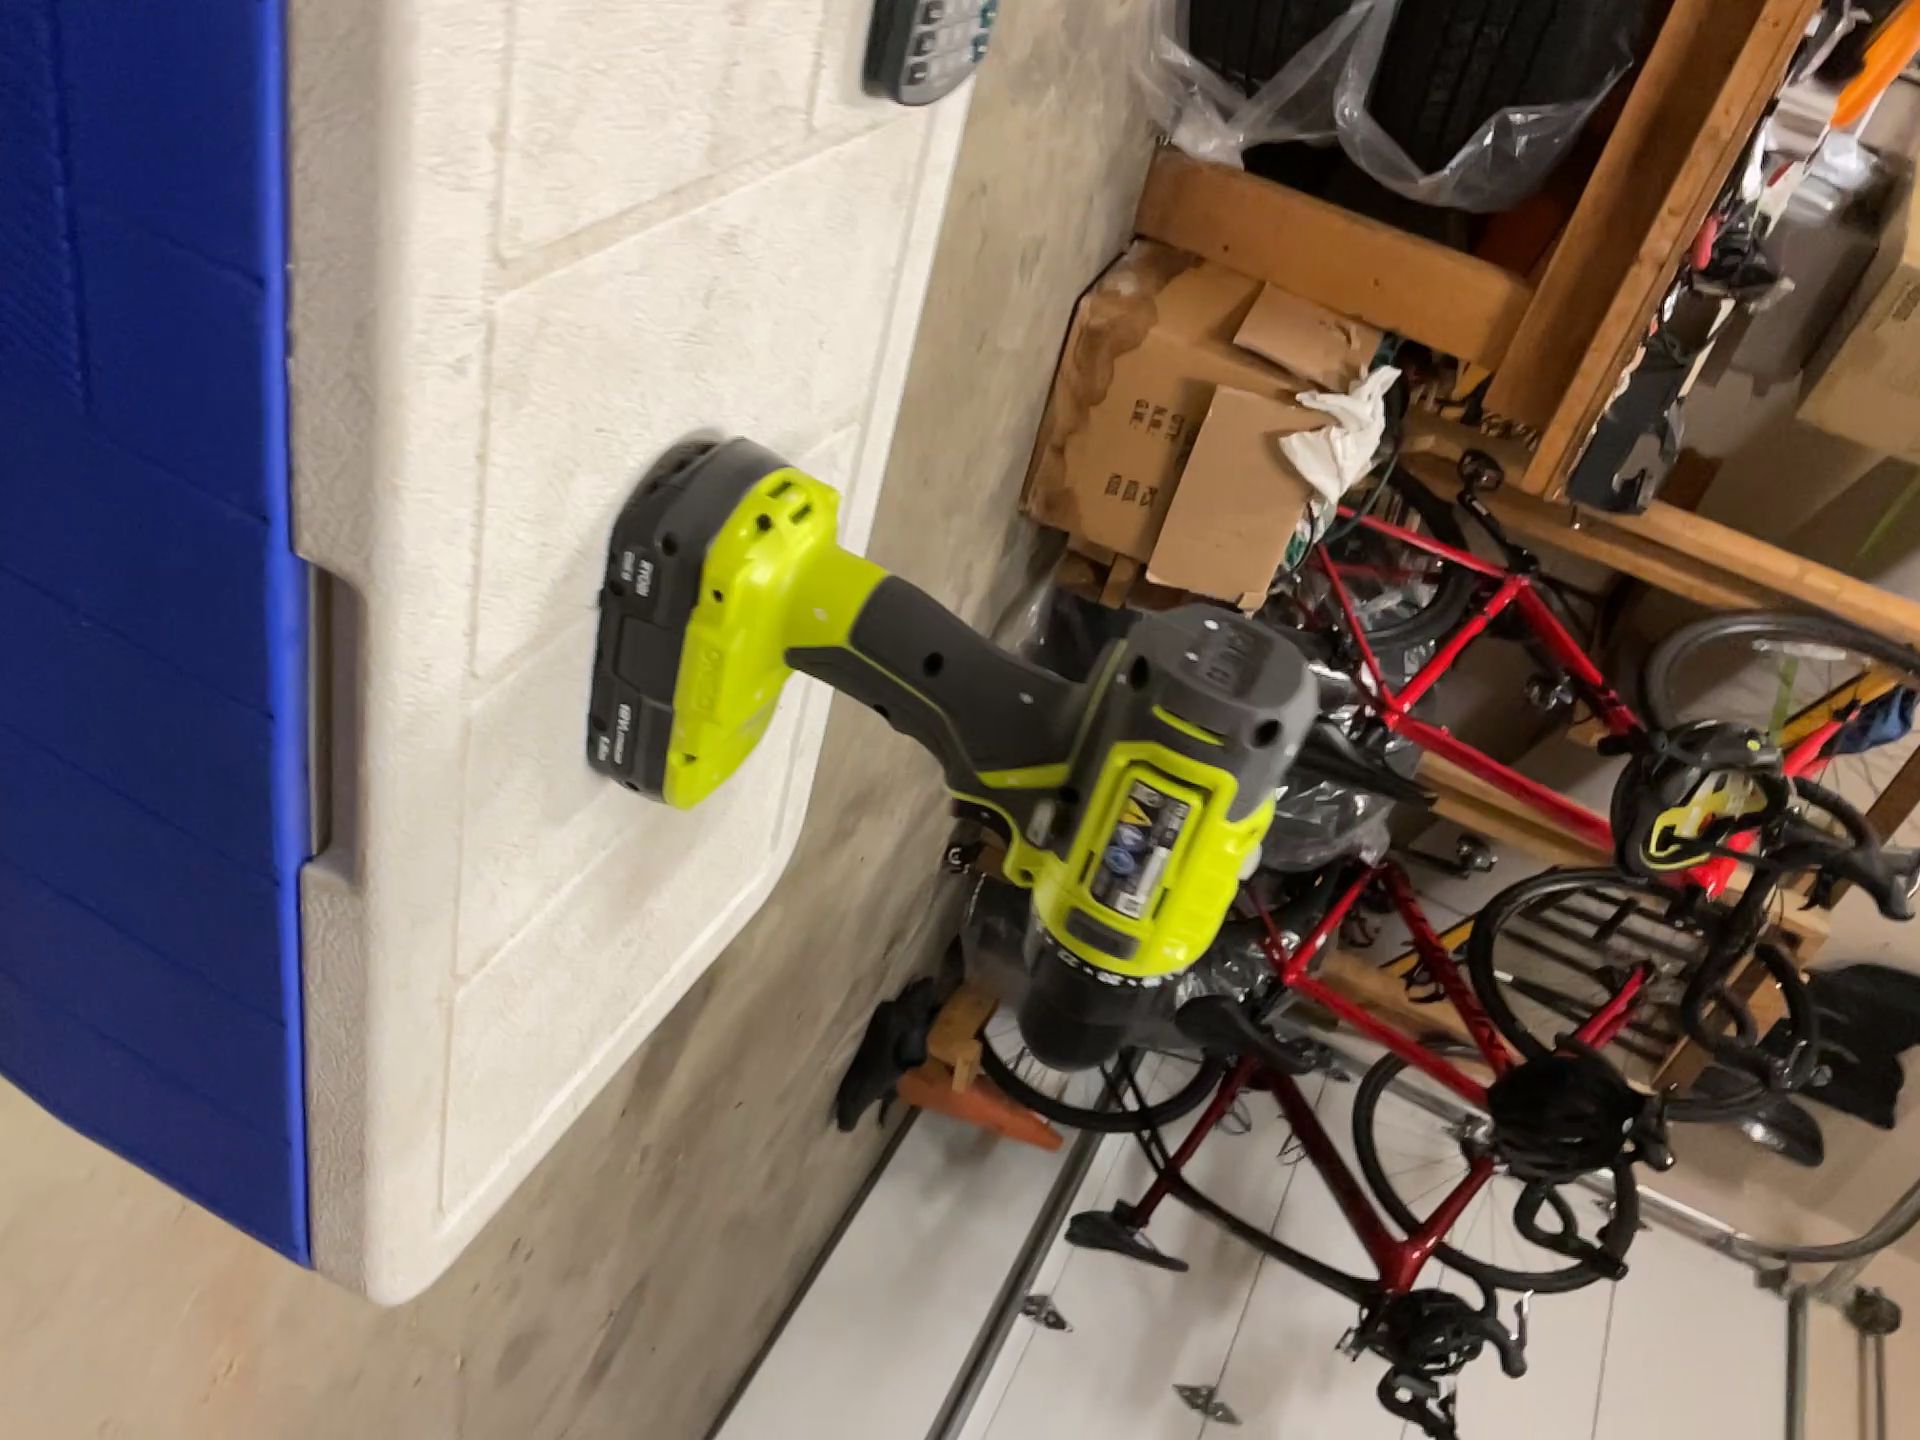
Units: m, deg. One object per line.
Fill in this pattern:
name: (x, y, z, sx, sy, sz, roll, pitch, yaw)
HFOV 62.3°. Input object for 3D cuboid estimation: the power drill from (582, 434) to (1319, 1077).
power drill: (-0.012, 0.017, 0.551, 0.080, 0.228, 0.190, -51, 163, -50)
